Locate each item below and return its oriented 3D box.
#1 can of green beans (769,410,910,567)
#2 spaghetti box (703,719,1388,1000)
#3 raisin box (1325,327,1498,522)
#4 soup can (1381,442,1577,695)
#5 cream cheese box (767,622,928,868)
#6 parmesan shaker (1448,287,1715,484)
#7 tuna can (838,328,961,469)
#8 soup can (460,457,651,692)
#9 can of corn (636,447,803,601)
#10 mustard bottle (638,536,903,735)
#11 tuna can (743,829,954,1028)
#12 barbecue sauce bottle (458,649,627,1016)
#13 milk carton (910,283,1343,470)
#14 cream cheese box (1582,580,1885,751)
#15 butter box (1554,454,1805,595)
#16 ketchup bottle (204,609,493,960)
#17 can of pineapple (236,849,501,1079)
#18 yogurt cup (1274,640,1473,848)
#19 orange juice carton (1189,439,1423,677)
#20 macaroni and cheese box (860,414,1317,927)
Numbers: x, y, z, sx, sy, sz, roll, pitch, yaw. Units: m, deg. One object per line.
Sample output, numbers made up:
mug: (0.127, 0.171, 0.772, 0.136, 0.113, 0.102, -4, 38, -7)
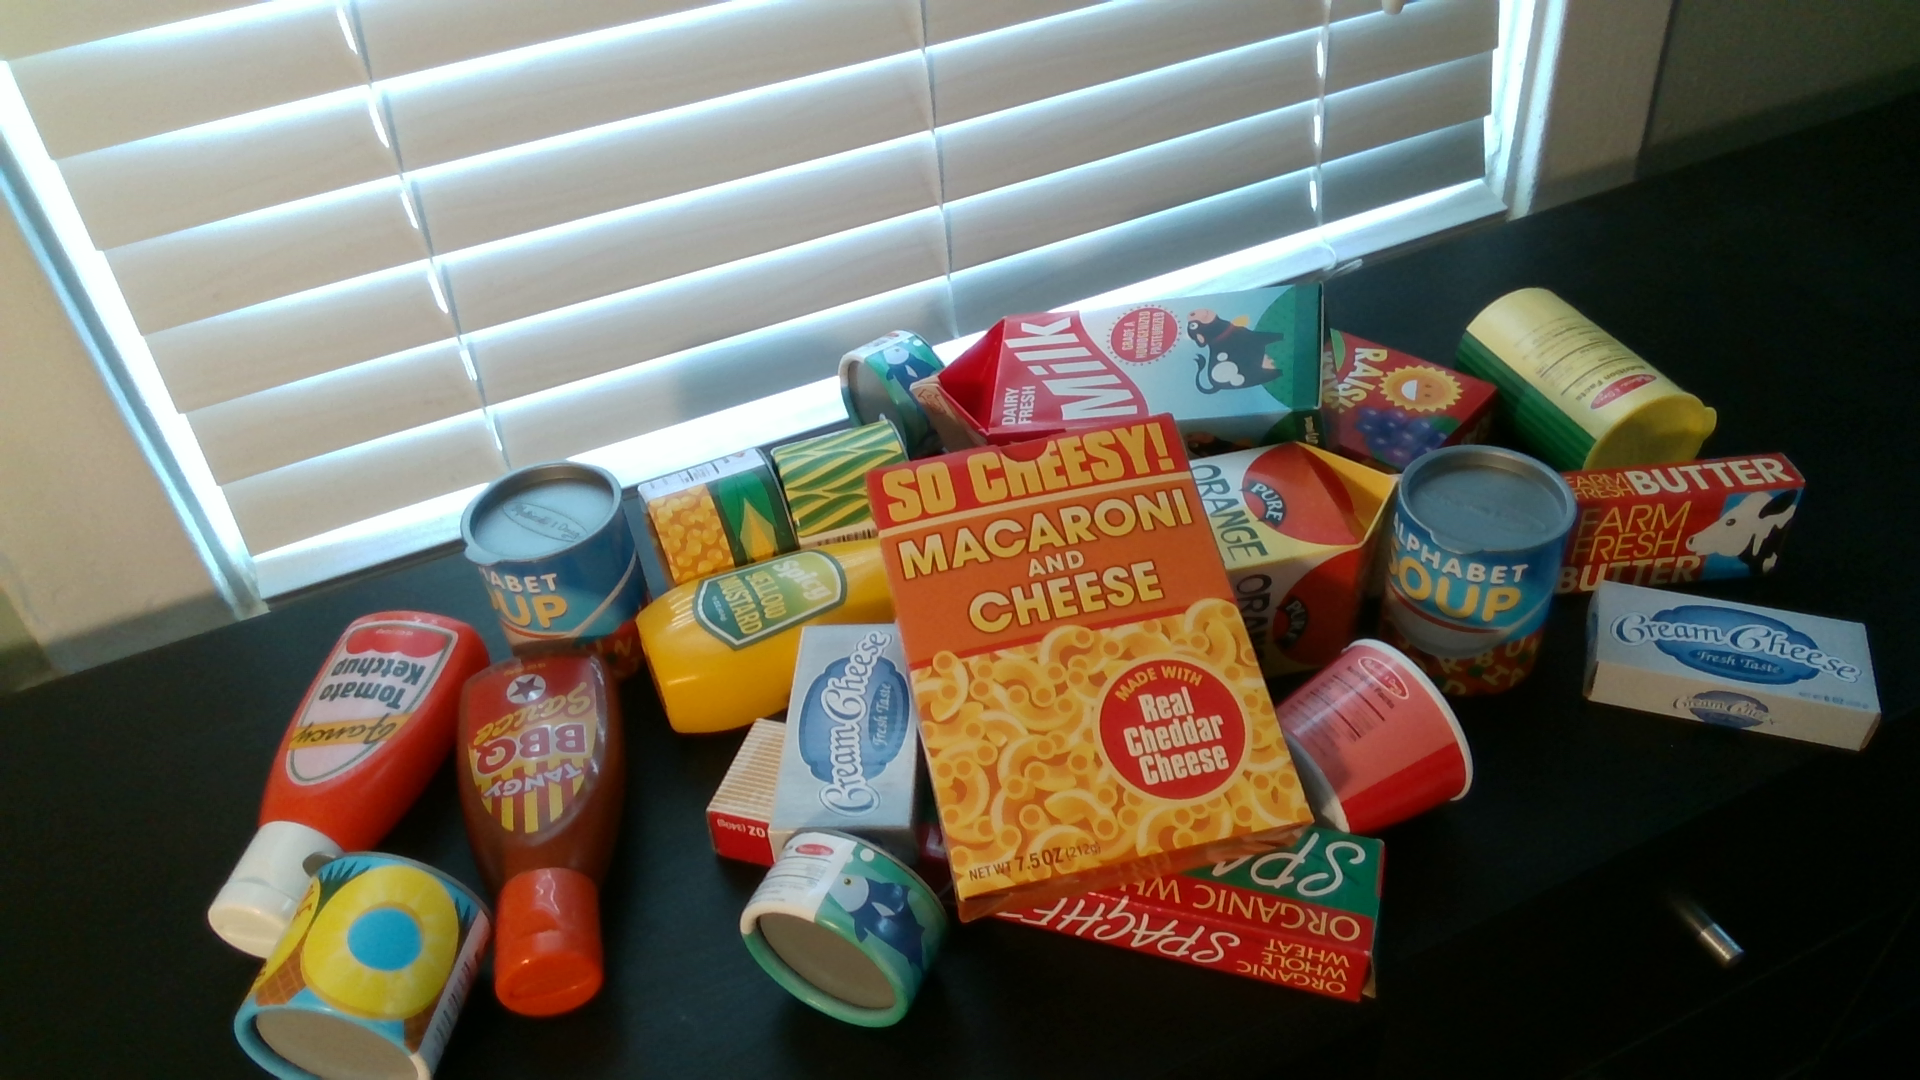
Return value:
can of green beans: (-0.053, -0.019, 0.647, 0.058, 0.071, 0.071, -14, 42, -9)
spaghetti box: (0.029, 0.114, 0.512, 0.250, 0.028, 0.050, 9, 41, 16)
raisin box: (0.189, -0.062, 0.692, 0.123, 0.039, 0.086, 29, 51, 33)
soup can: (0.208, 0.014, 0.568, 0.071, 0.083, 0.072, -4, 40, 3)
cream cheese box: (-0.039, 0.075, 0.526, 0.053, 0.024, 0.104, -3, 41, 5)
parmesan shaker: (0.295, -0.070, 0.668, 0.071, 0.071, 0.103, -16, 42, -13)
tuna can: (-0.030, -0.068, 0.702, 0.033, 0.070, 0.071, -28, 46, -24)
soup can: (-0.173, 0.018, 0.602, 0.071, 0.083, 0.072, -3, 41, 3)
can of corn: (-0.108, 0.000, 0.634, 0.058, 0.070, 0.071, -20, 43, -16)
mustard bottle: (-0.056, 0.031, 0.604, 0.161, 0.048, 0.065, -21, 44, -18)
tuna can: (-0.037, 0.134, 0.472, 0.071, 0.070, 0.033, 16, 46, 22)
barbecue sauce bottle: (-0.158, 0.107, 0.530, 0.065, 0.043, 0.149, -13, 41, -8)
milk carton: (0.077, -0.060, 0.649, 0.190, 0.072, 0.074, -4, 57, 21)
cream cheese box: (0.310, 0.049, 0.564, 0.104, 0.024, 0.054, 10, 41, 15)
butter box: (0.305, -0.006, 0.603, 0.103, 0.052, 0.024, -5, 38, -1)
ketchup bottle: (-0.244, 0.093, 0.554, 0.065, 0.043, 0.149, 2, 42, 10)
can of pineapple: (-0.200, 0.147, 0.469, 0.071, 0.070, 0.058, 2, 41, 9)
yogurt cup: (0.148, 0.079, 0.518, 0.054, 0.072, 0.072, -28, 45, -12)
orange juice carton: (0.099, 0.014, 0.584, 0.193, 0.071, 0.073, -10, 43, -9)
macaroni and cheese box: (0.040, 0.040, 0.501, 0.124, 0.040, 0.167, -11, 62, -7)
